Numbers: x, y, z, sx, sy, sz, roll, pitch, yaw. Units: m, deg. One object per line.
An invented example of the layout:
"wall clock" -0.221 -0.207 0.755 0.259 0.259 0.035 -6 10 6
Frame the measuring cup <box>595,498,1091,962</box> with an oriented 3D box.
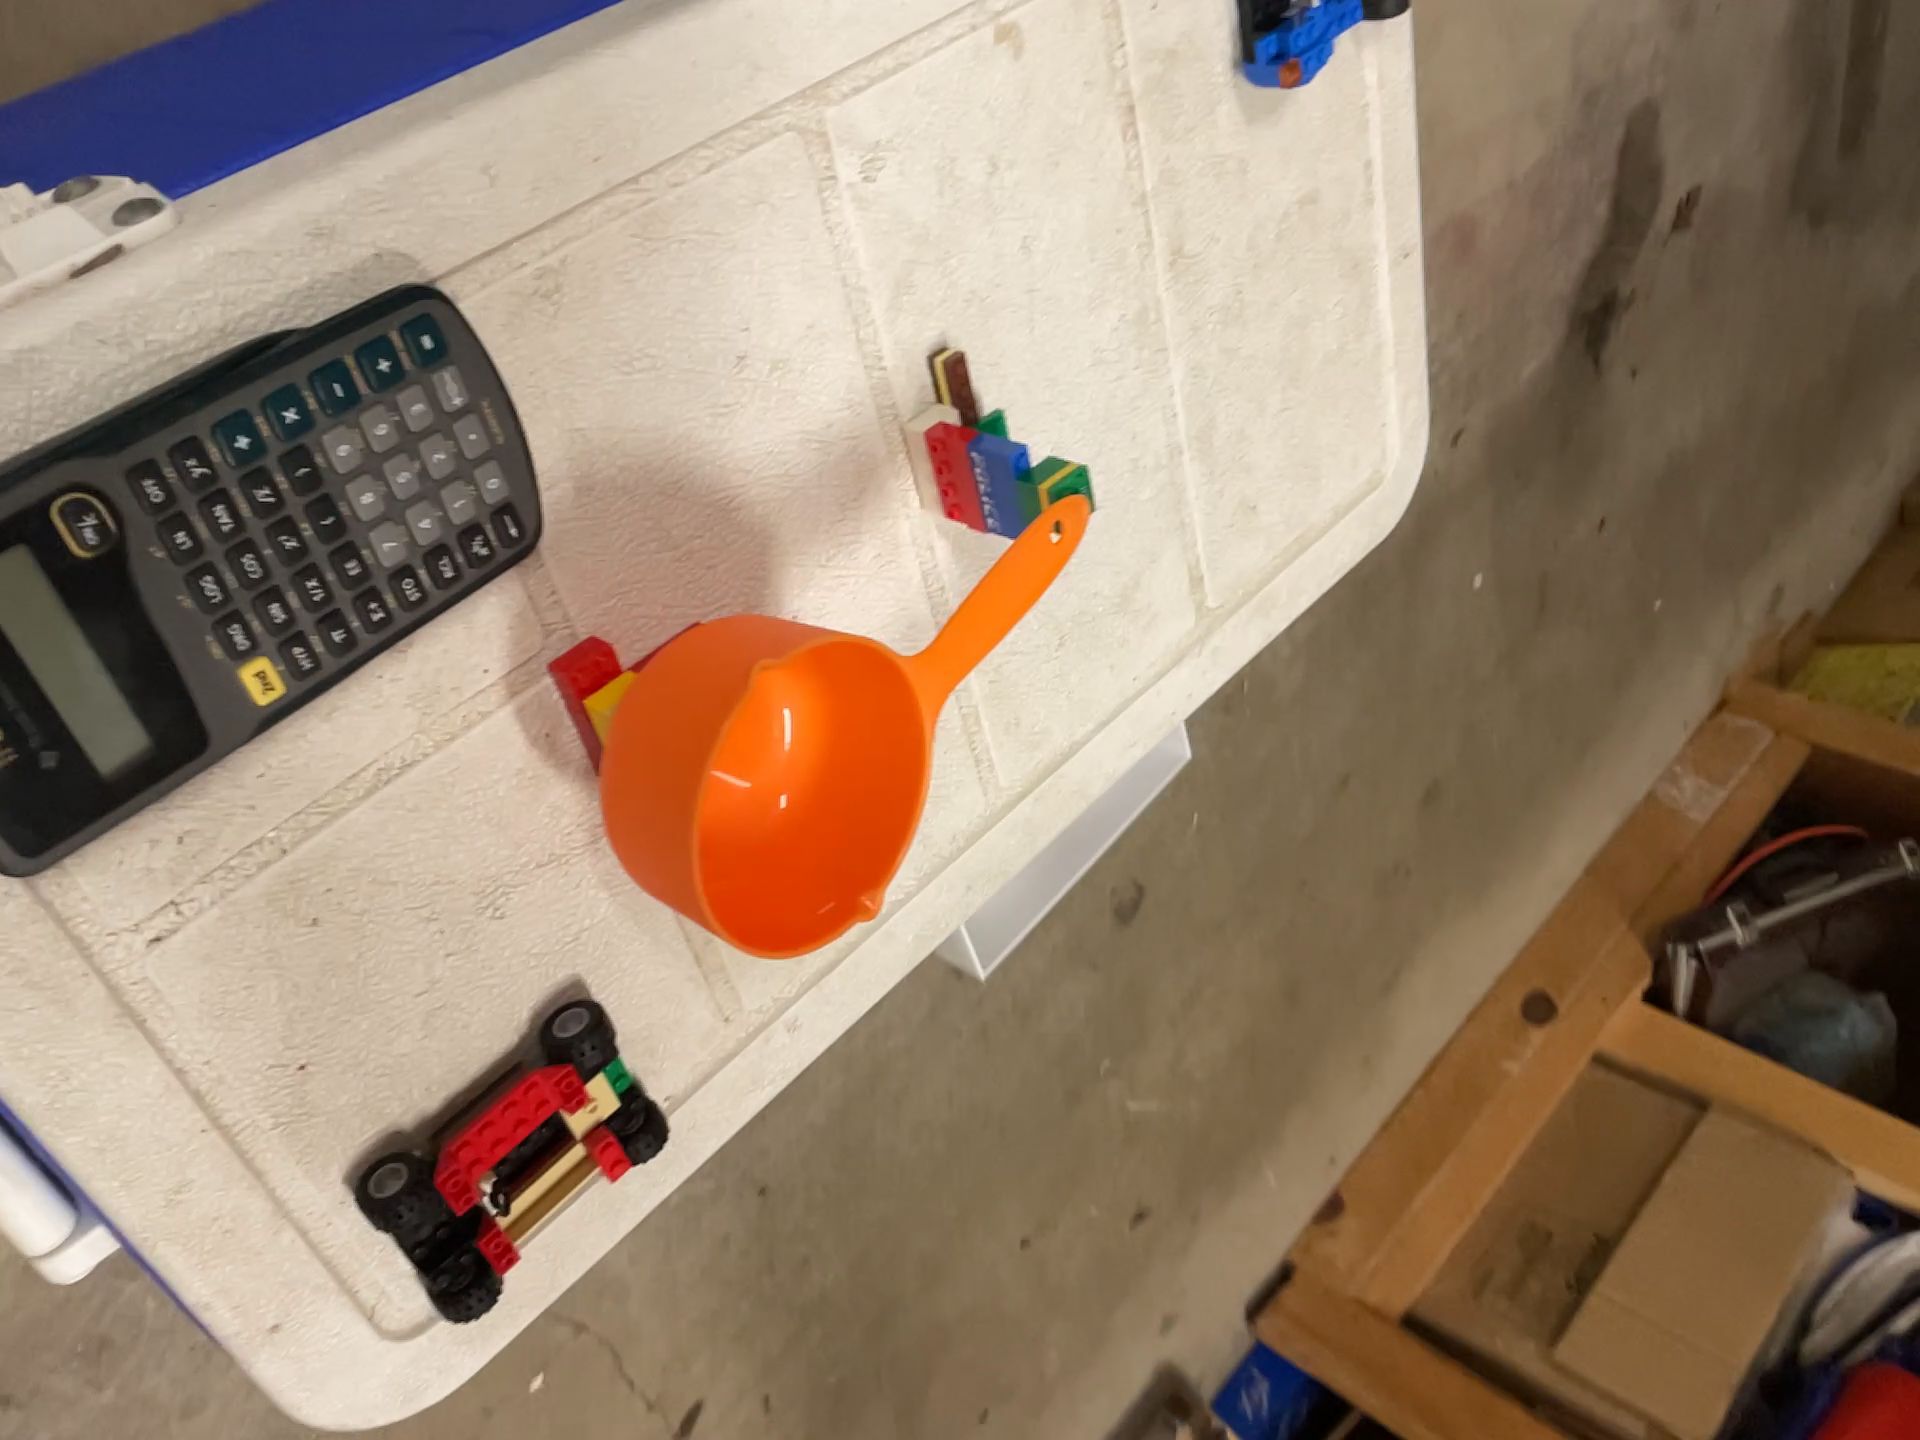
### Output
"measuring cup" -0.029 -0.013 0.447 0.174 0.052 0.095 -48 137 -29
